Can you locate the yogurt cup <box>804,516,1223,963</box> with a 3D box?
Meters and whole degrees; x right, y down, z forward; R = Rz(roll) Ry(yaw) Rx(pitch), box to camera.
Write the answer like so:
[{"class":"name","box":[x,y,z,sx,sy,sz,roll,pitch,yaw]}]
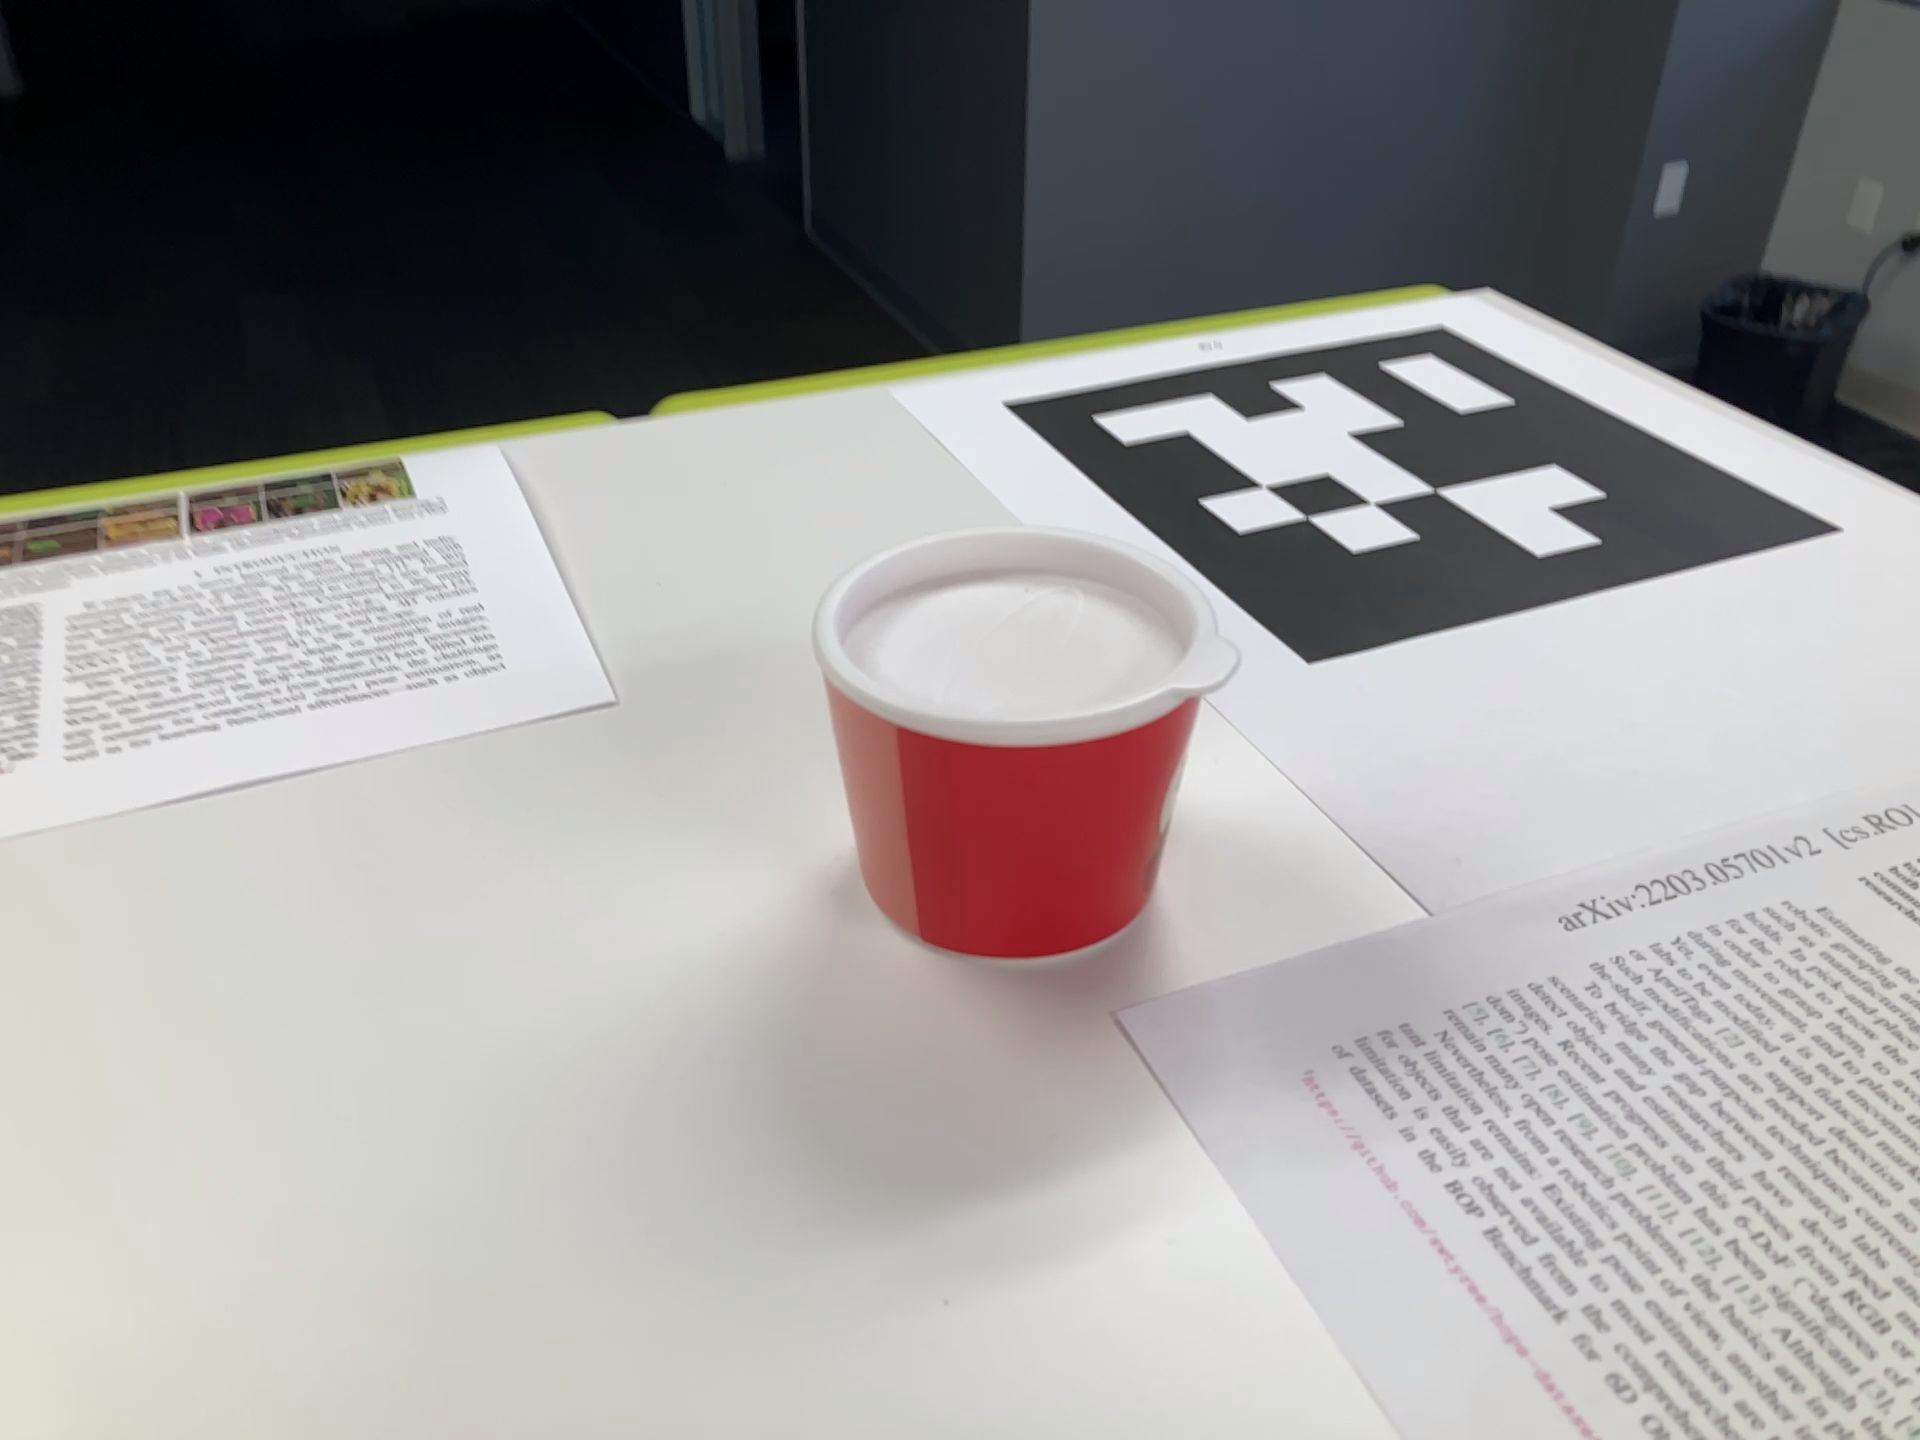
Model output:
[{"class":"yogurt cup","box":[0.009,0.004,0.273,0.072,0.054,0.072,-1,33,1]}]
